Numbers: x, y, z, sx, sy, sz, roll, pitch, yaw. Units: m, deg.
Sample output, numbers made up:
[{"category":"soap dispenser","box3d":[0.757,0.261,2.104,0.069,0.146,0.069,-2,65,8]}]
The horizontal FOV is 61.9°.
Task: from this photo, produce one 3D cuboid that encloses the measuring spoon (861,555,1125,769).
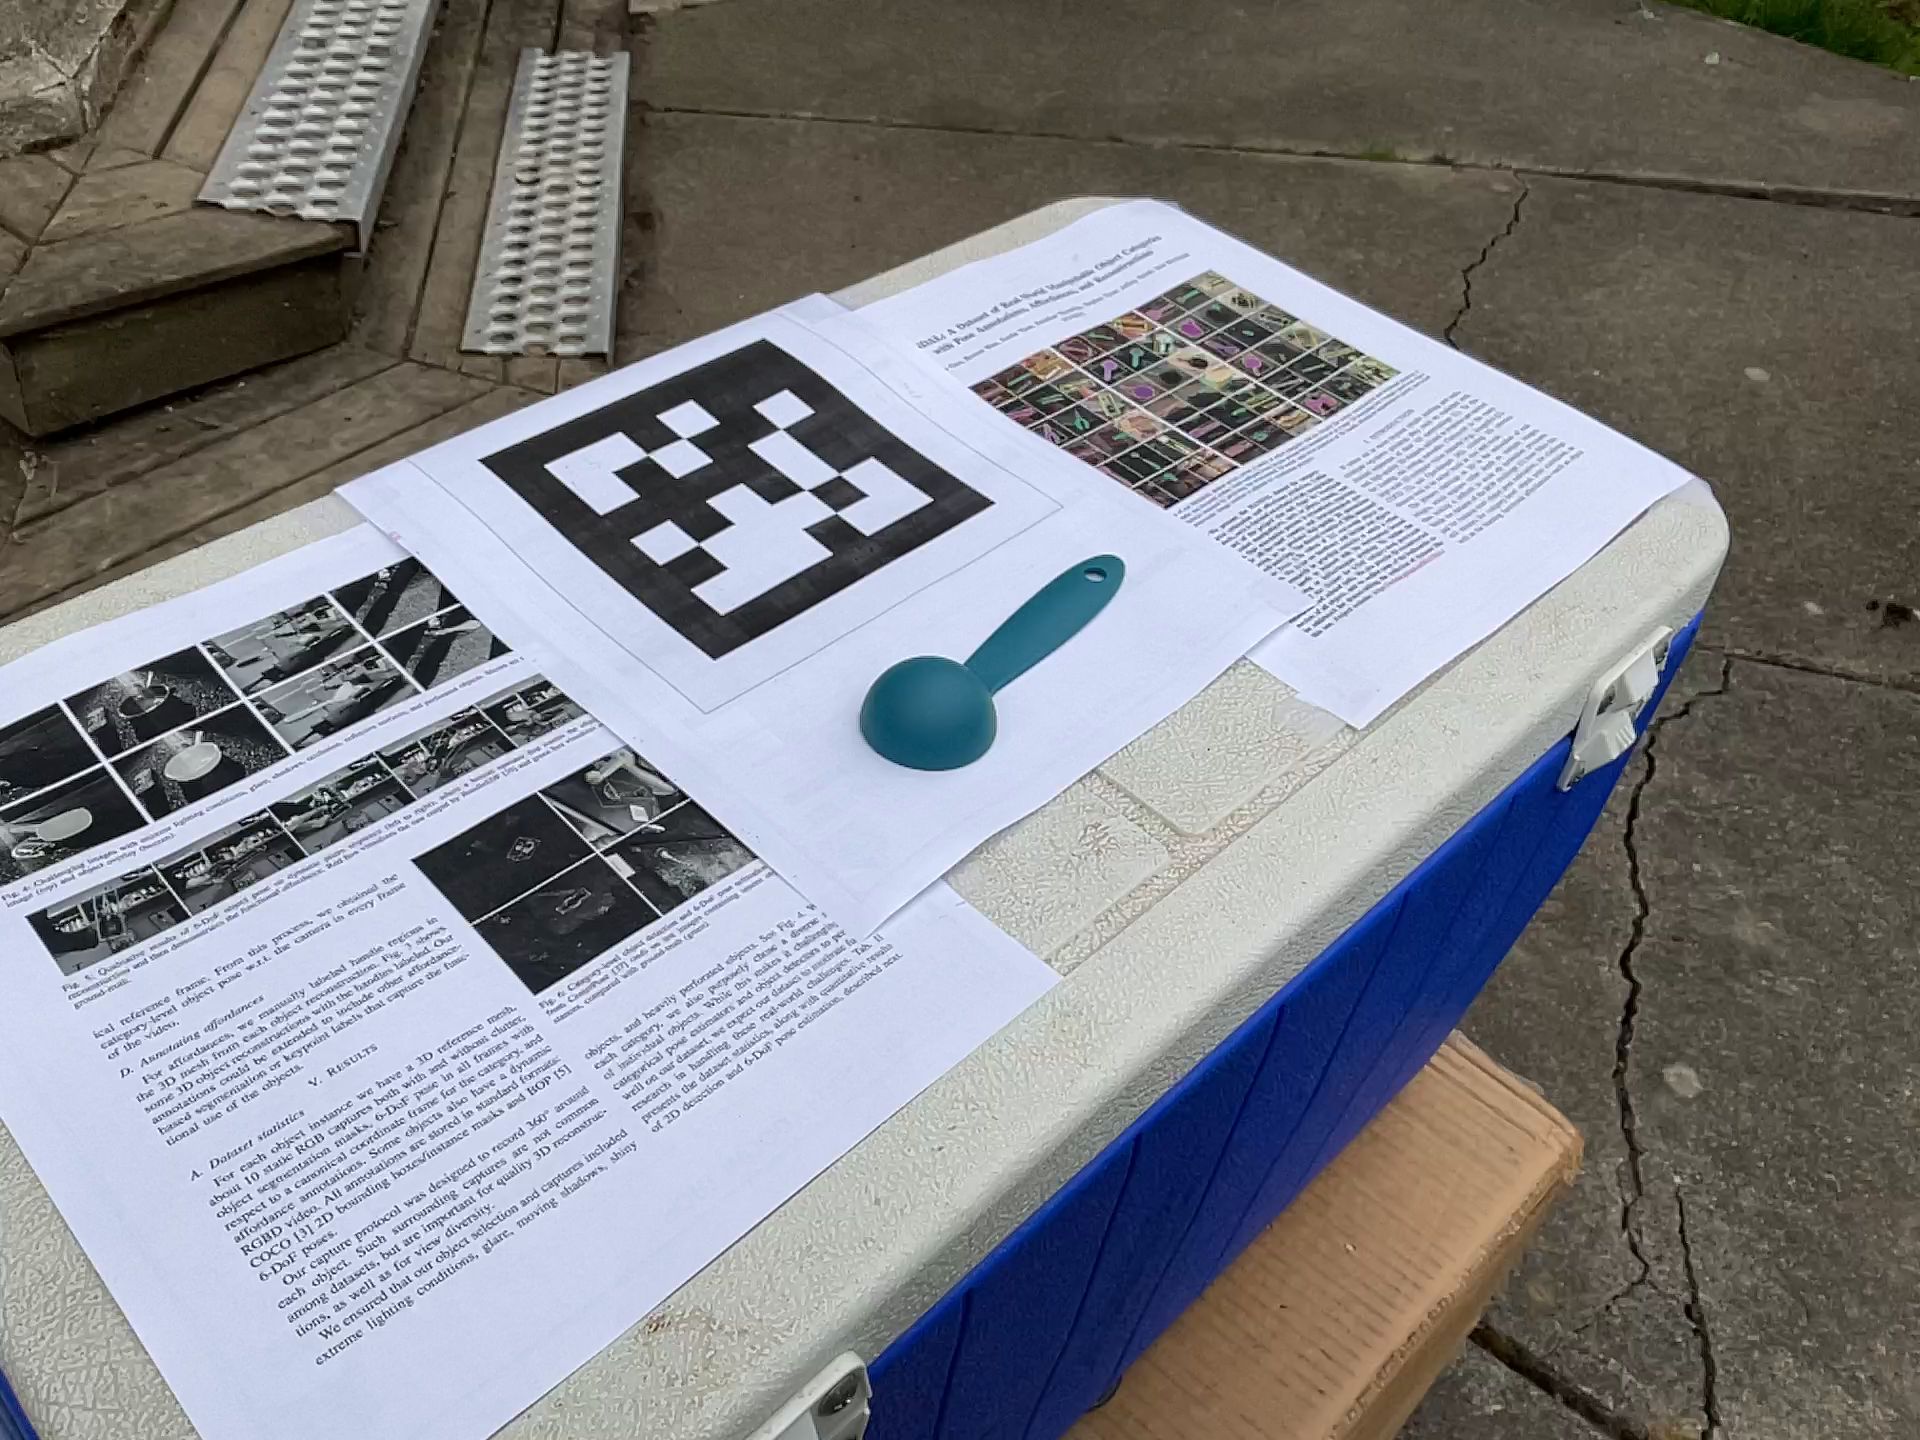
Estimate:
[{"category":"measuring spoon","box3d":[0.016,-0.029,0.514,0.042,0.021,0.128,26,47,26]}]
